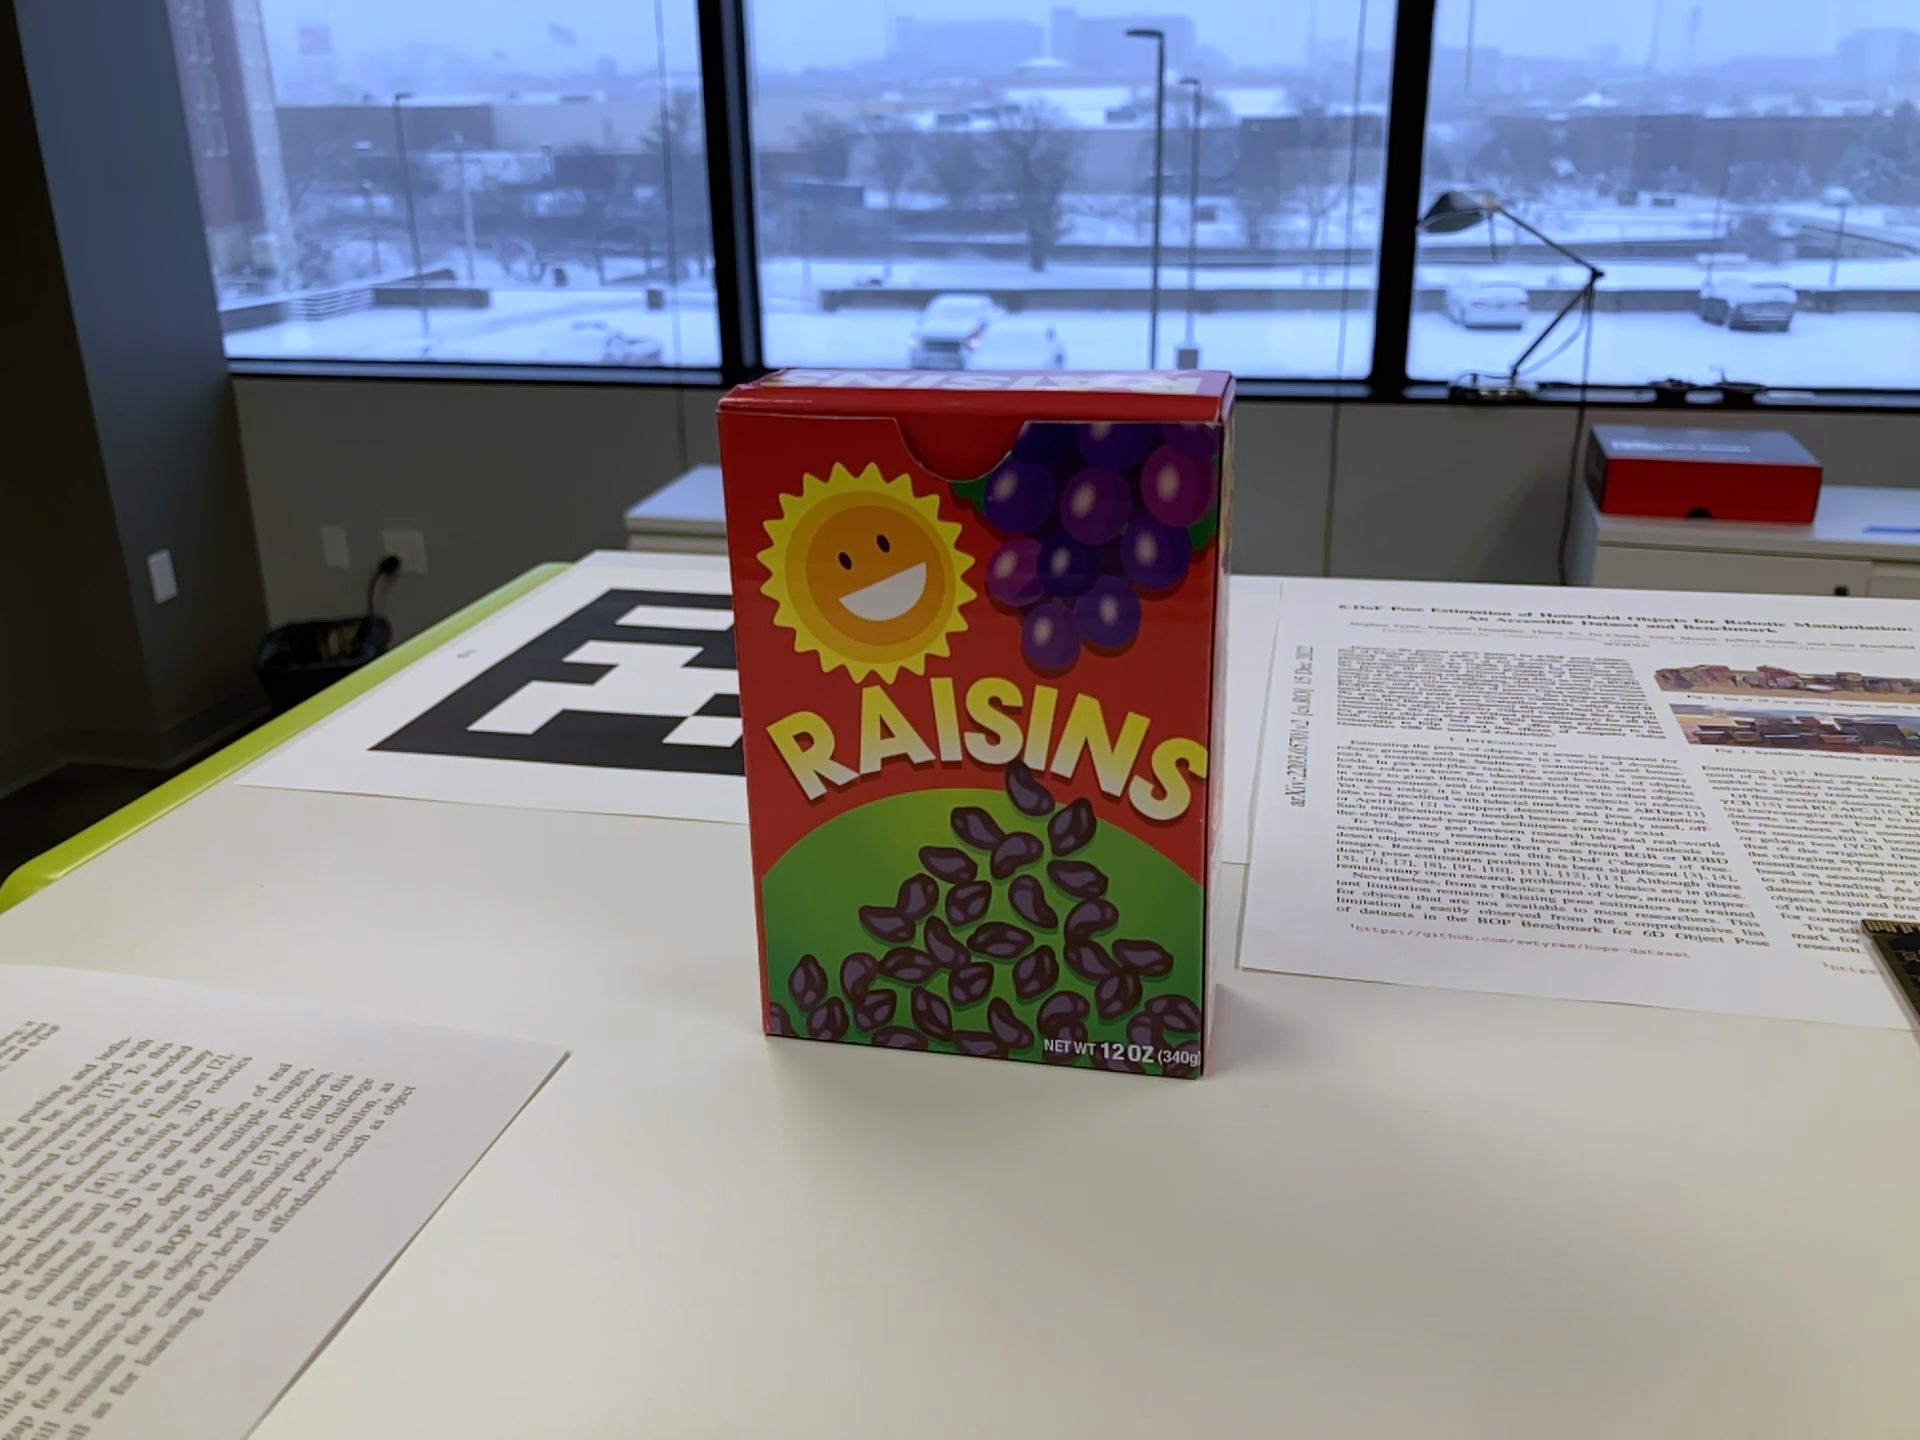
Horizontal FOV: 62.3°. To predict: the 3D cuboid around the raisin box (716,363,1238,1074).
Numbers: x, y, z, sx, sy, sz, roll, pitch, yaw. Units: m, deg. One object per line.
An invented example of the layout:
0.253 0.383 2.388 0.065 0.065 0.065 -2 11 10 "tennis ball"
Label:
0.005 -0.001 0.290 0.086 0.123 0.040 4 20 13 "raisin box"
